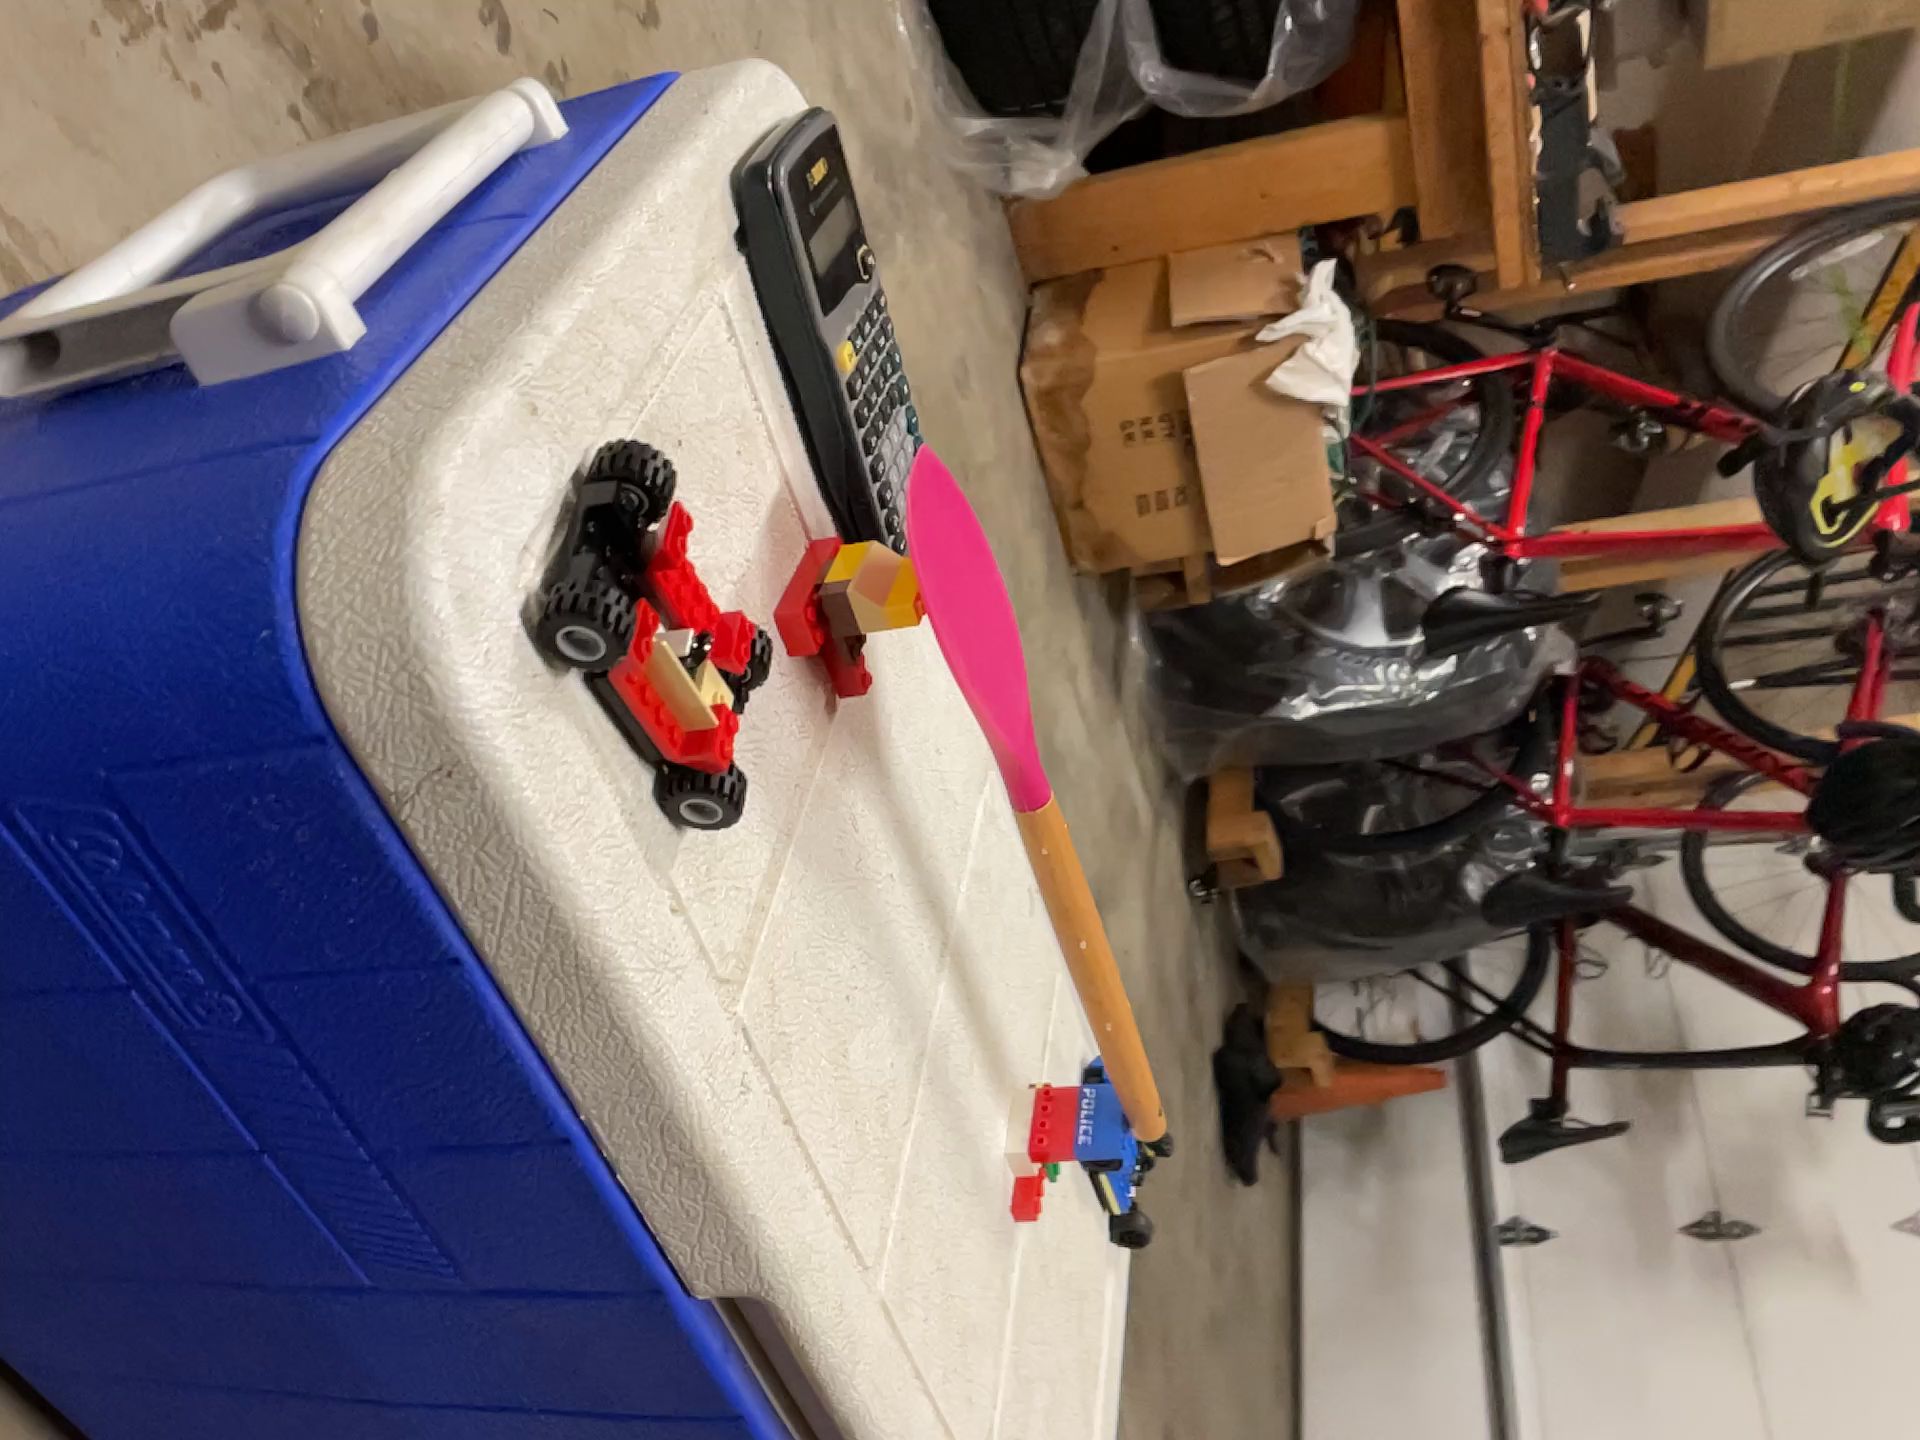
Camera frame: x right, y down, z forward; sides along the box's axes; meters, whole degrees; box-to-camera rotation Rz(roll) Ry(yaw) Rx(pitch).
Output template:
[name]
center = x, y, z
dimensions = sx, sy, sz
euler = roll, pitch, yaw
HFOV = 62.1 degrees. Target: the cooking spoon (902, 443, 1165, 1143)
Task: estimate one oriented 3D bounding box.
[cooking spoon]
center = 0.031, 0.047, 0.561
dimensions = 0.069, 0.017, 0.318
euler = -77, 152, -50
